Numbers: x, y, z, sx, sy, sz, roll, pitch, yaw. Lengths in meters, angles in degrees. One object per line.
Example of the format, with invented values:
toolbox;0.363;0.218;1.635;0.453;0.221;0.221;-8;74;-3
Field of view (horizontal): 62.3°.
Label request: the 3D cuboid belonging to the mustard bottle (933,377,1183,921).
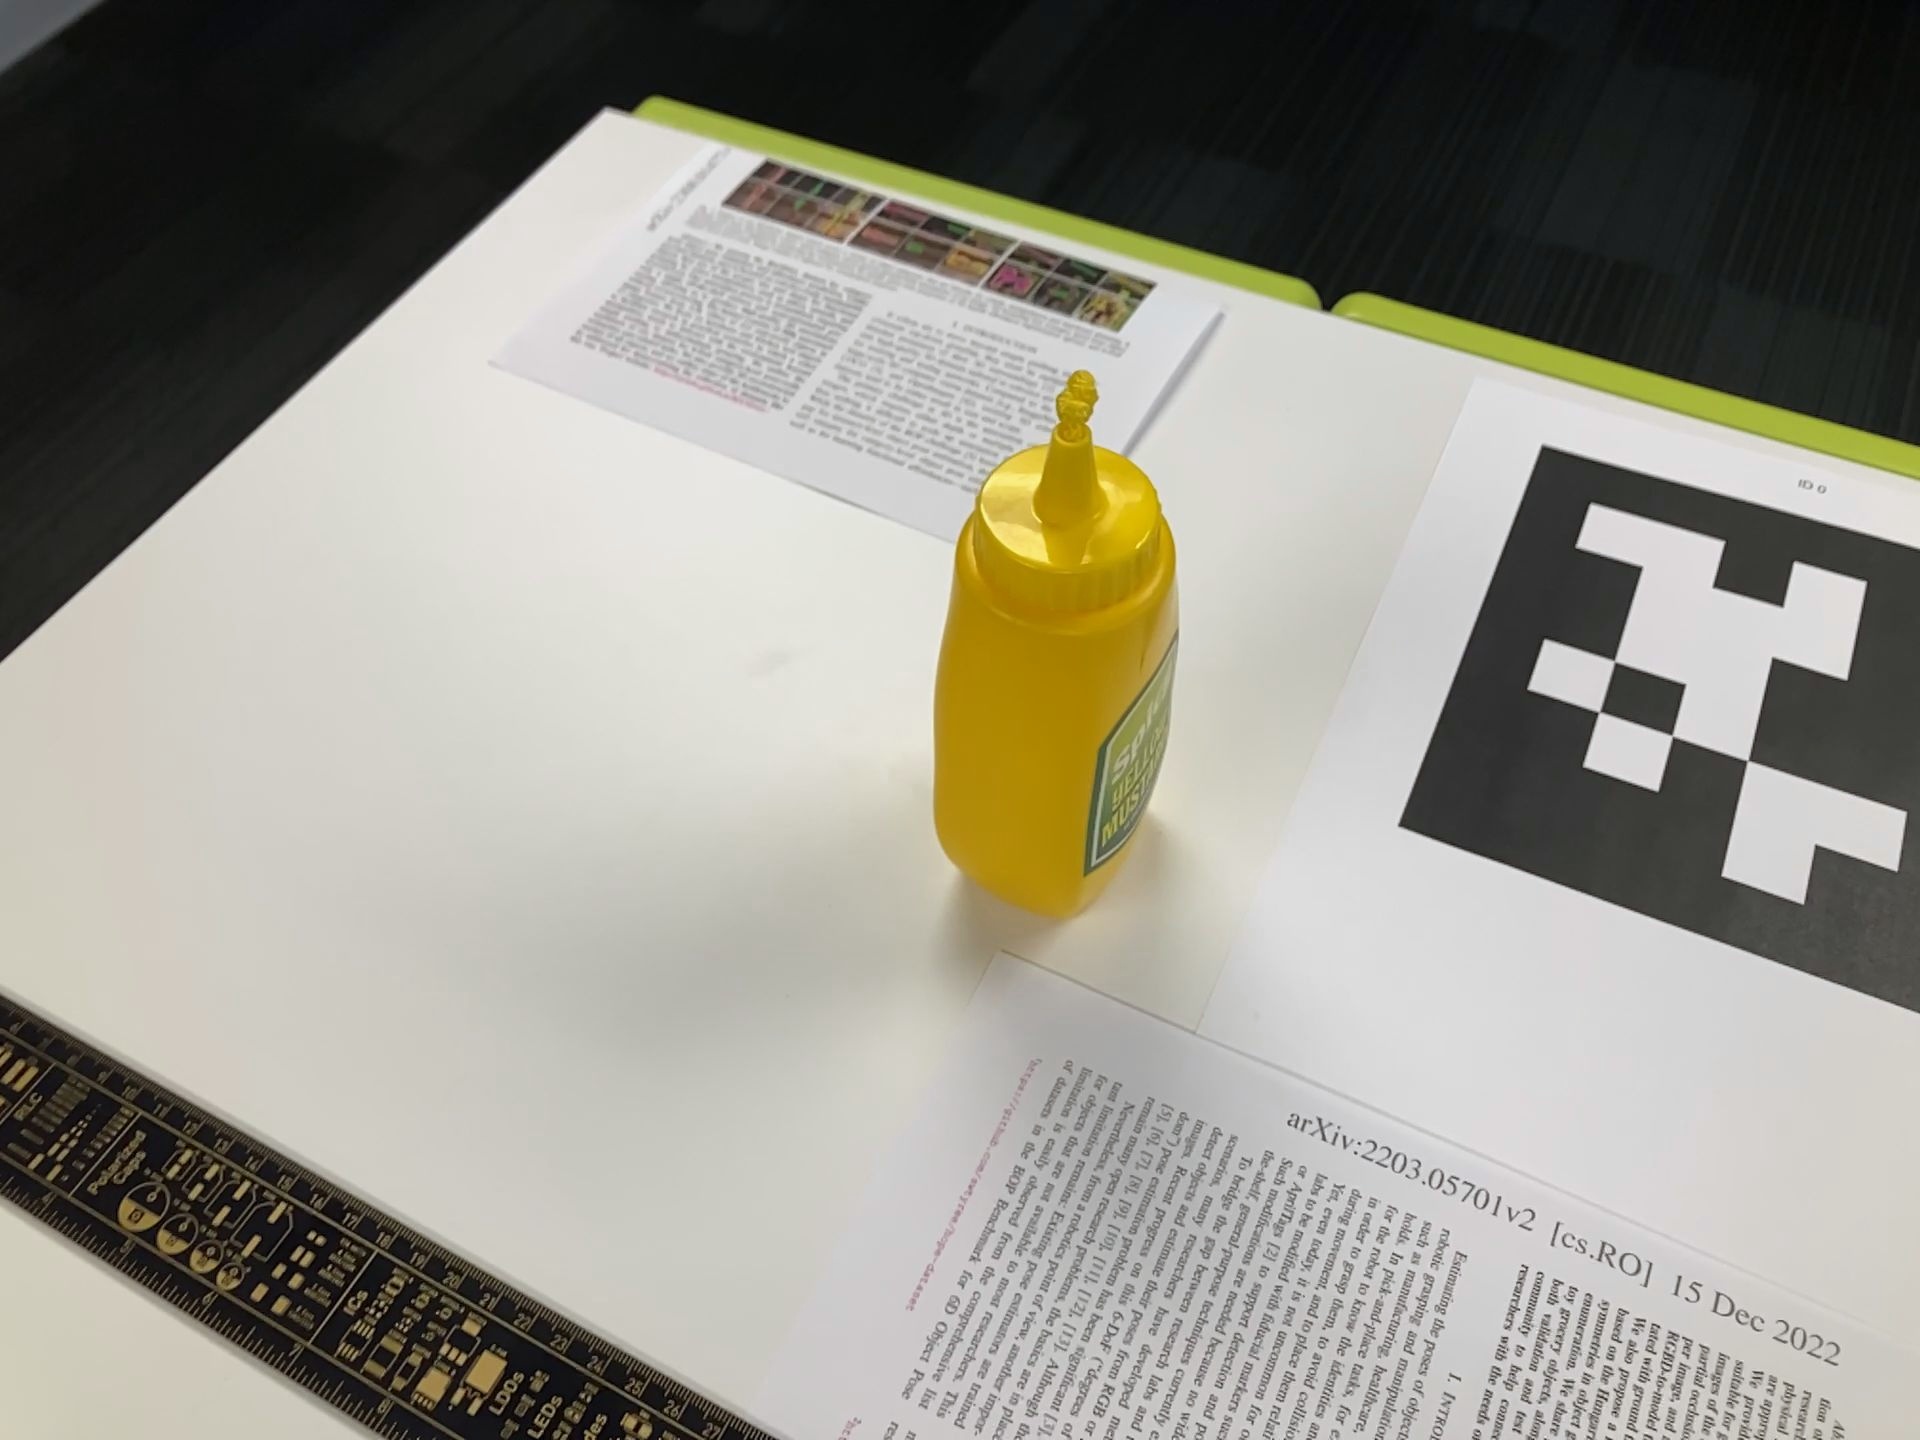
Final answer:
mustard bottle;0.024;-0.014;0.368;0.049;0.160;0.065;25;59;18
